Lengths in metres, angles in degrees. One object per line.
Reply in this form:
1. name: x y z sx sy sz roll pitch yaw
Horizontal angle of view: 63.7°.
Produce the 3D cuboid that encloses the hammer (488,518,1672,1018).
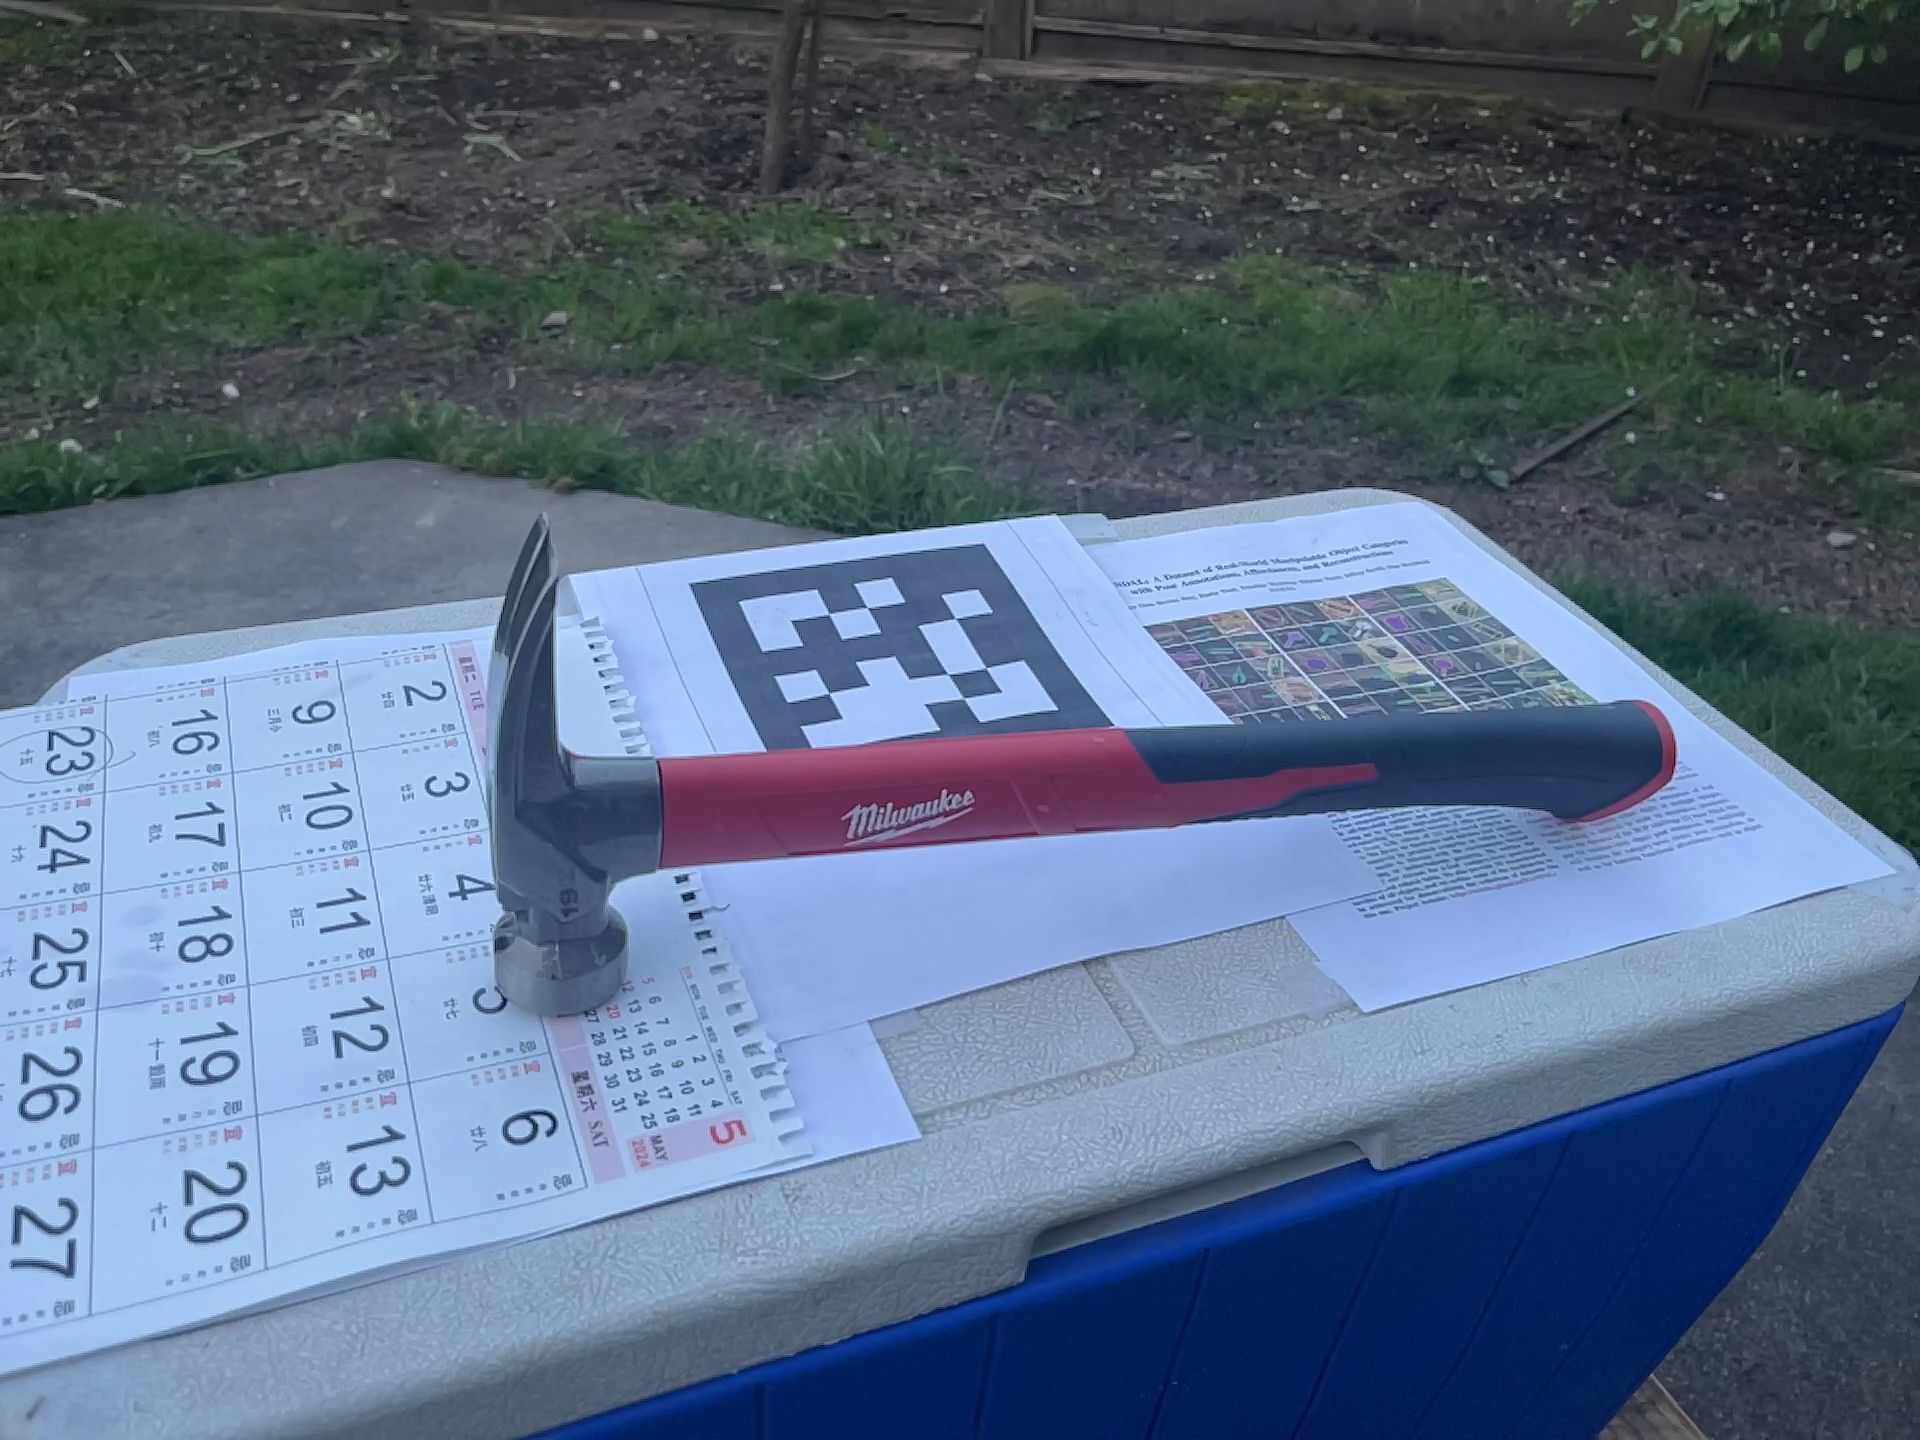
1. hammer: 0.059 0.006 0.468 0.386 0.143 0.038 -4 35 -19
